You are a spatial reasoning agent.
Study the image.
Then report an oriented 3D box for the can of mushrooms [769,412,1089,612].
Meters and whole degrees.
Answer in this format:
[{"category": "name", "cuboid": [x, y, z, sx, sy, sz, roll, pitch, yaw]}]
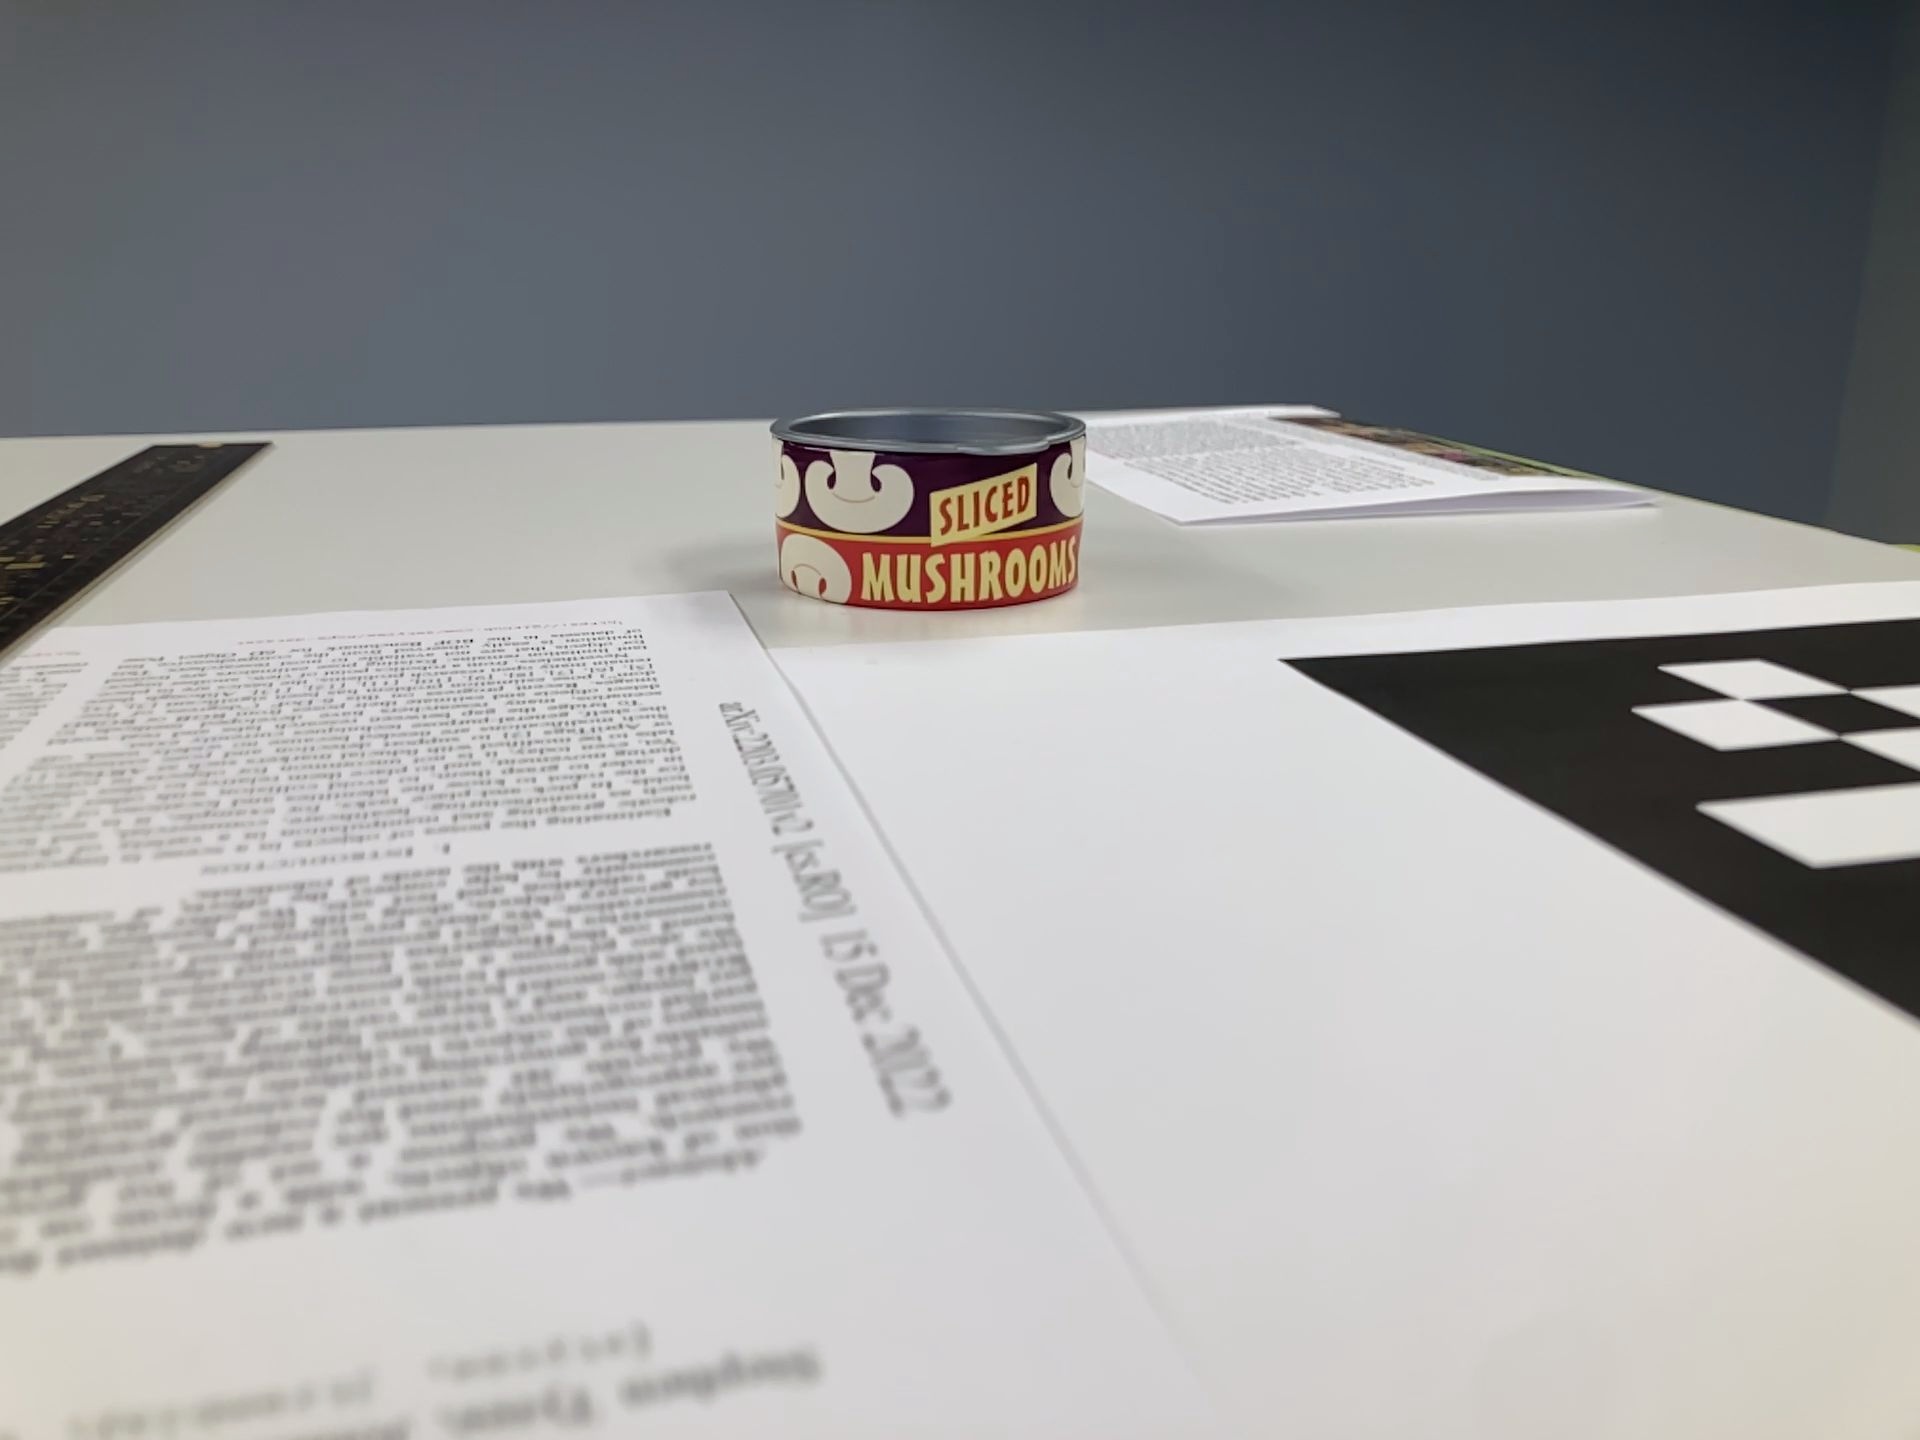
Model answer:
[{"category": "can of mushrooms", "cuboid": [-0.005, -0.045, 0.331, 0.071, 0.033, 0.071, 1, 16, 0]}]
